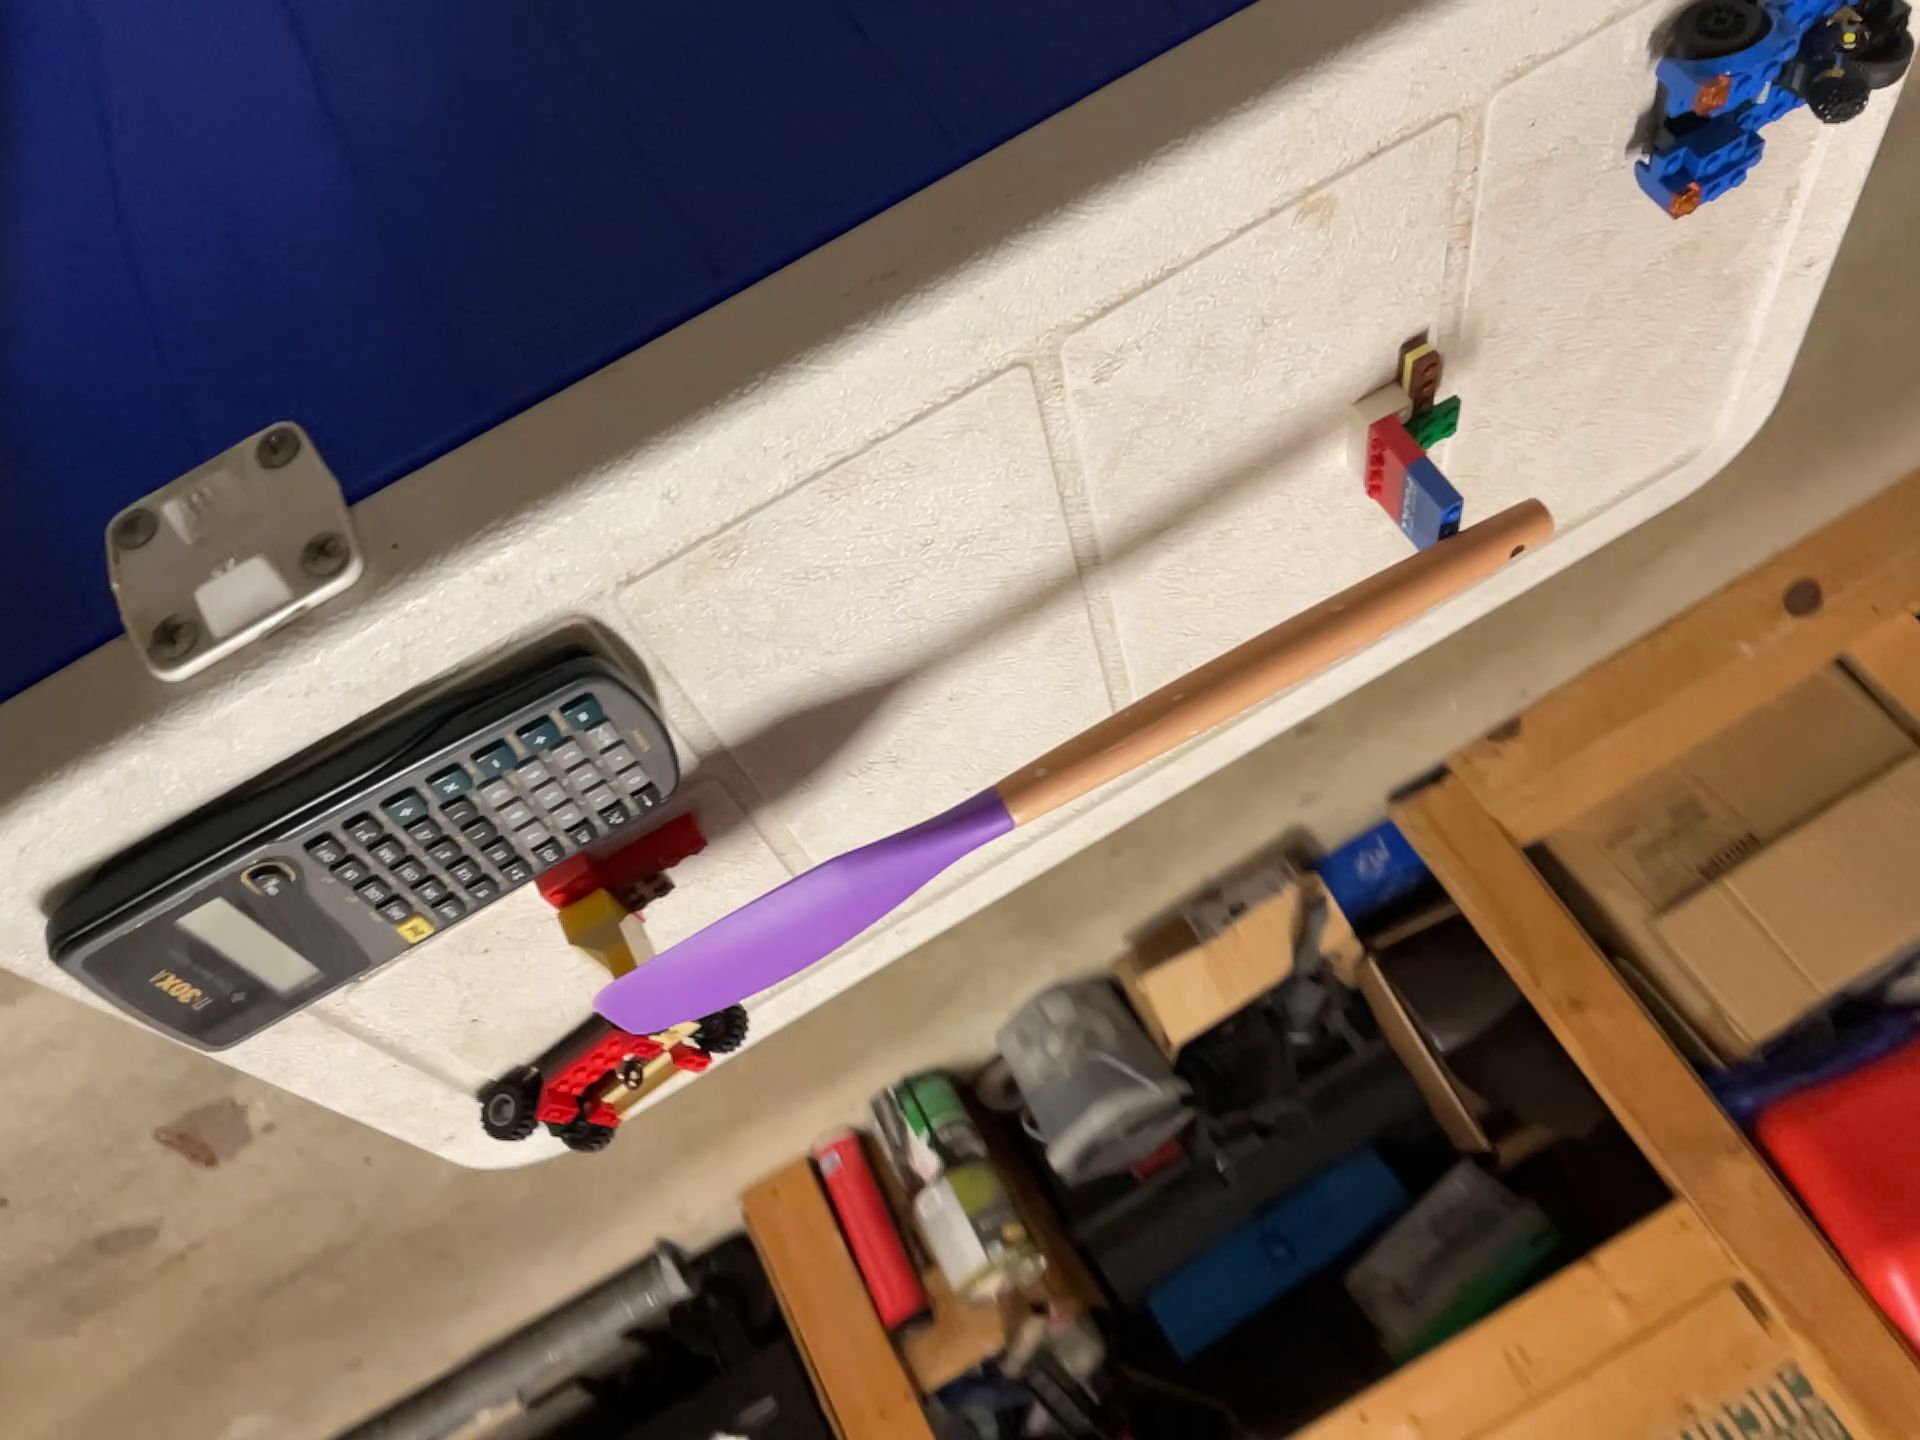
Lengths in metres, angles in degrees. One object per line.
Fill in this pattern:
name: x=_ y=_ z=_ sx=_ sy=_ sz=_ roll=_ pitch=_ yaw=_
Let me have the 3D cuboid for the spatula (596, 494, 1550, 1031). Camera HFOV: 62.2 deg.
spatula: x=0.037 y=0.013 z=0.479 sx=0.316 sy=0.018 sz=0.059 roll=-29 pitch=151 yaw=-1
